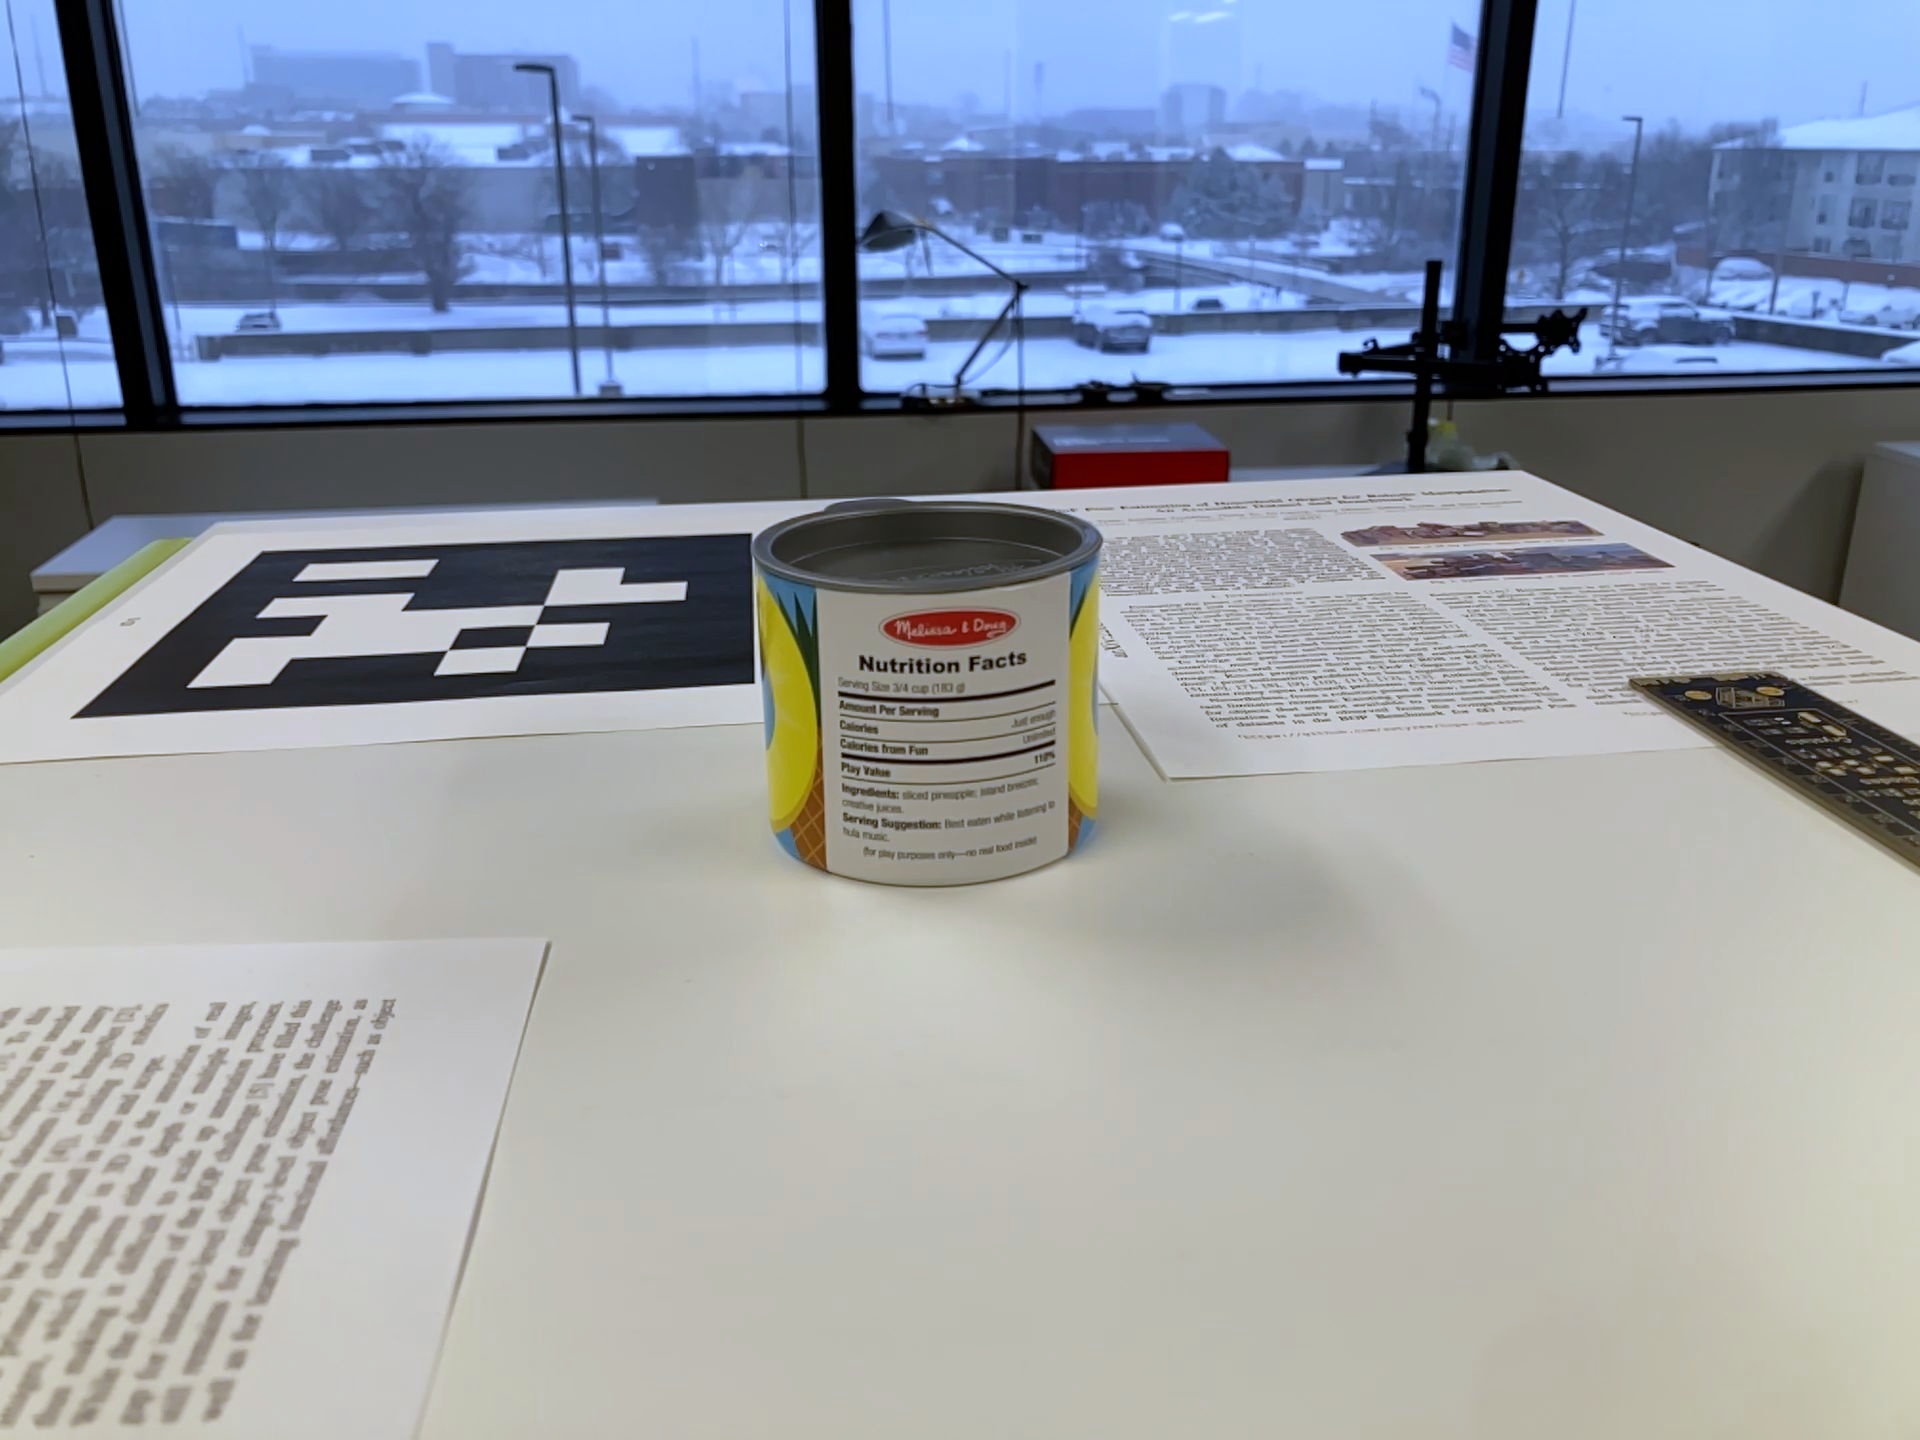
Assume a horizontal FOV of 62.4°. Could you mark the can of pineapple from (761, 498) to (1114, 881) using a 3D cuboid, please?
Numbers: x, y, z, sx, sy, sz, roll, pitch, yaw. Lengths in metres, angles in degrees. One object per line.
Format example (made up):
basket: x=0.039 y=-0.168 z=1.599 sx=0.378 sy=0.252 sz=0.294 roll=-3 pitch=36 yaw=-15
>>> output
can of pineapple: x=-0.004 y=-0.009 z=0.308 sx=0.071 sy=0.058 sz=0.071 roll=0 pitch=19 yaw=0
